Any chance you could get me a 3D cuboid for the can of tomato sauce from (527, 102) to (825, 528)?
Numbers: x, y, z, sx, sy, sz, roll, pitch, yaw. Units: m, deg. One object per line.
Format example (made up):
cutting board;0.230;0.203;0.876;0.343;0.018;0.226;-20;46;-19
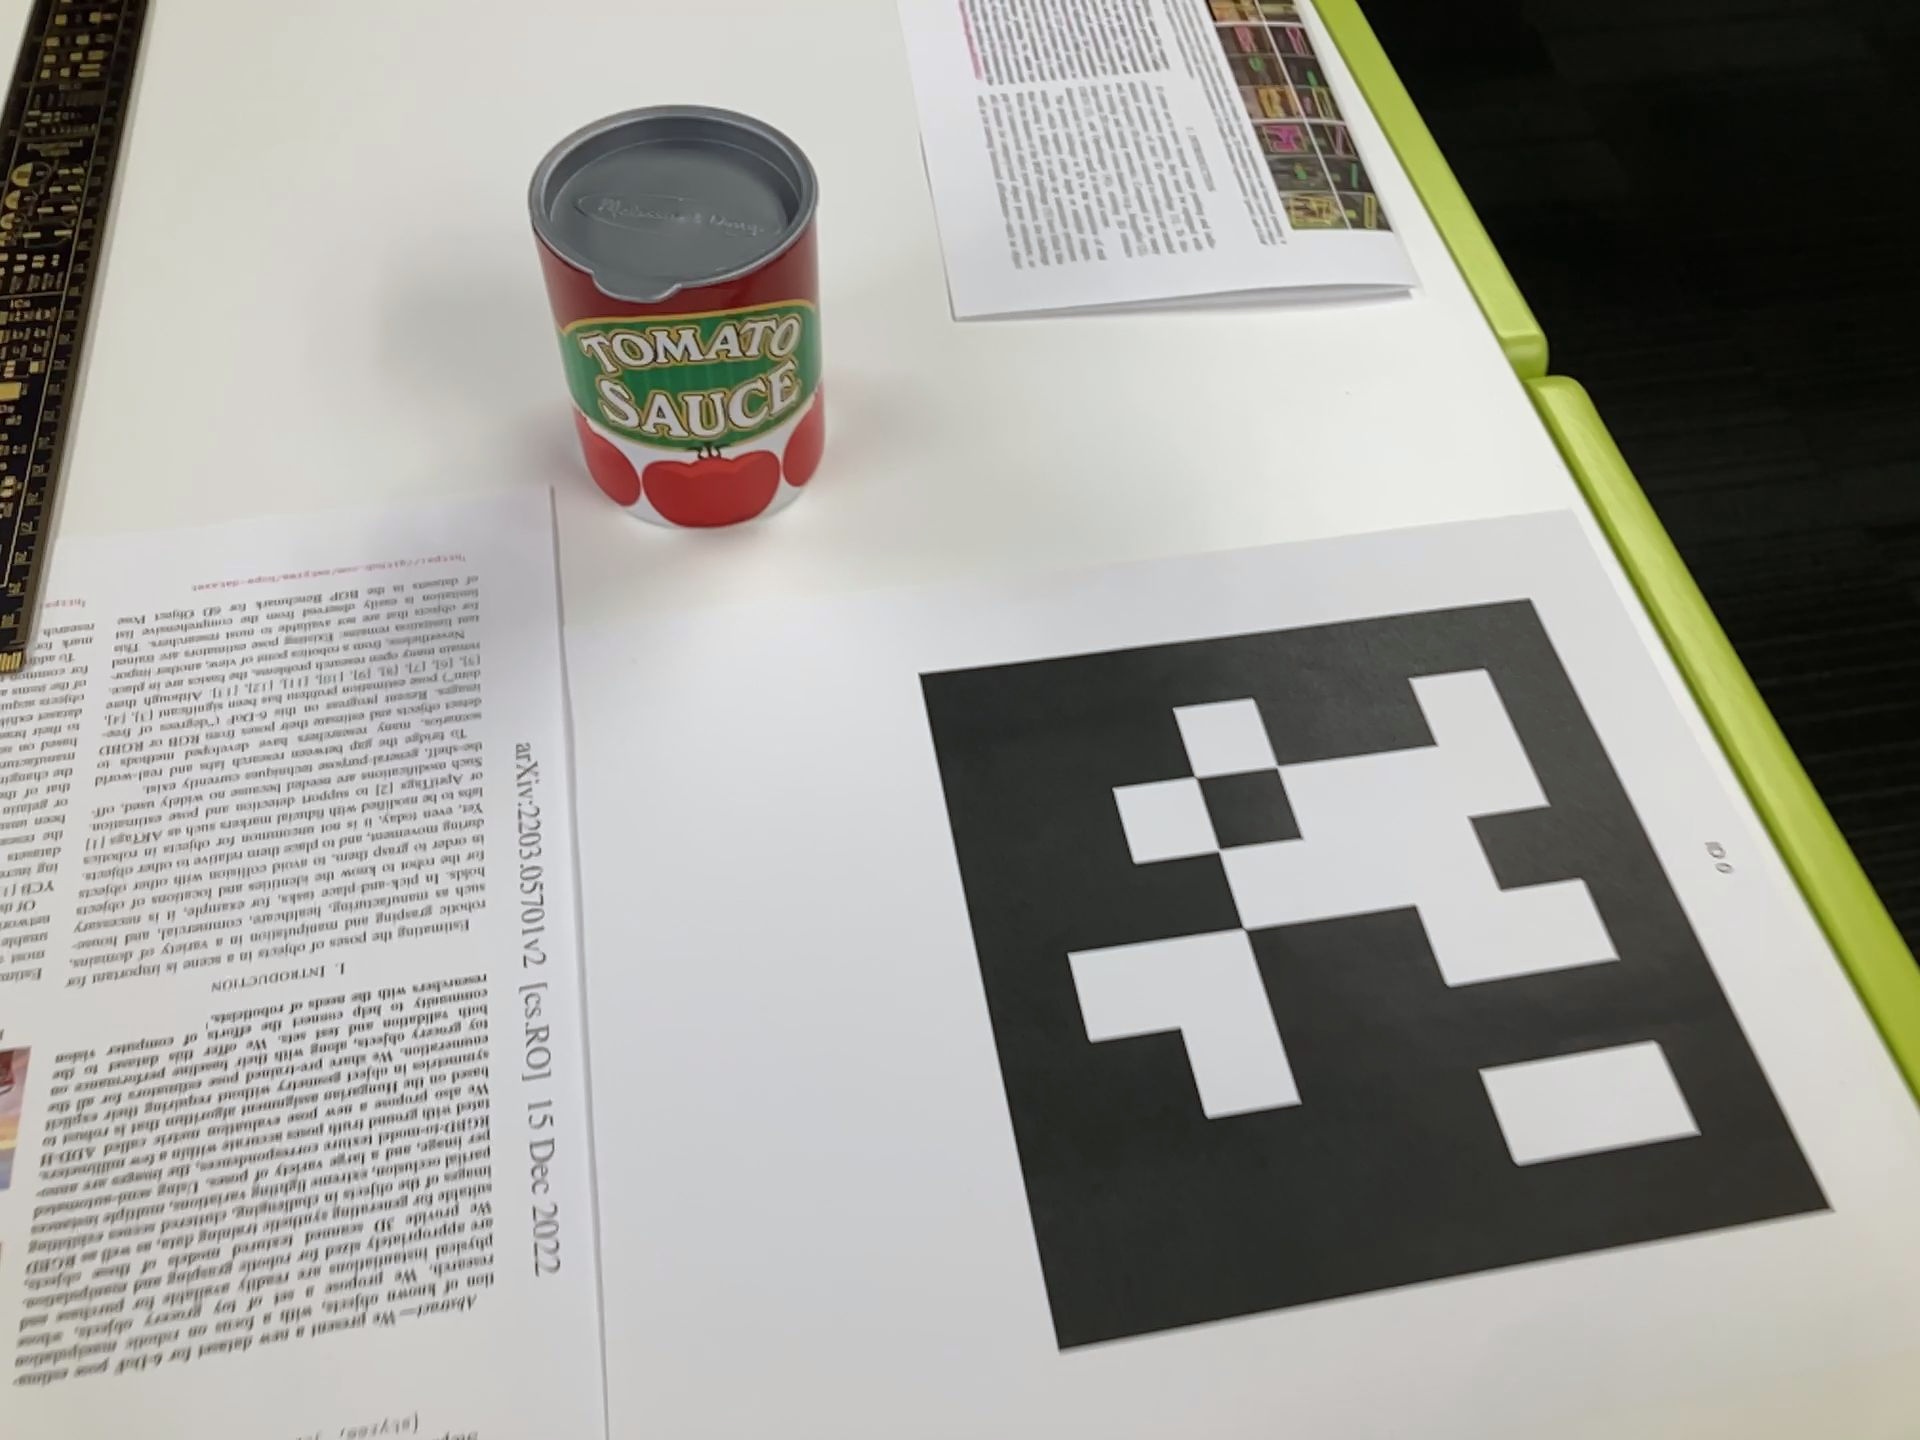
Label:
can of tomato sauce;-0.068;-0.099;0.400;0.071;0.083;0.071;1;55;-2
